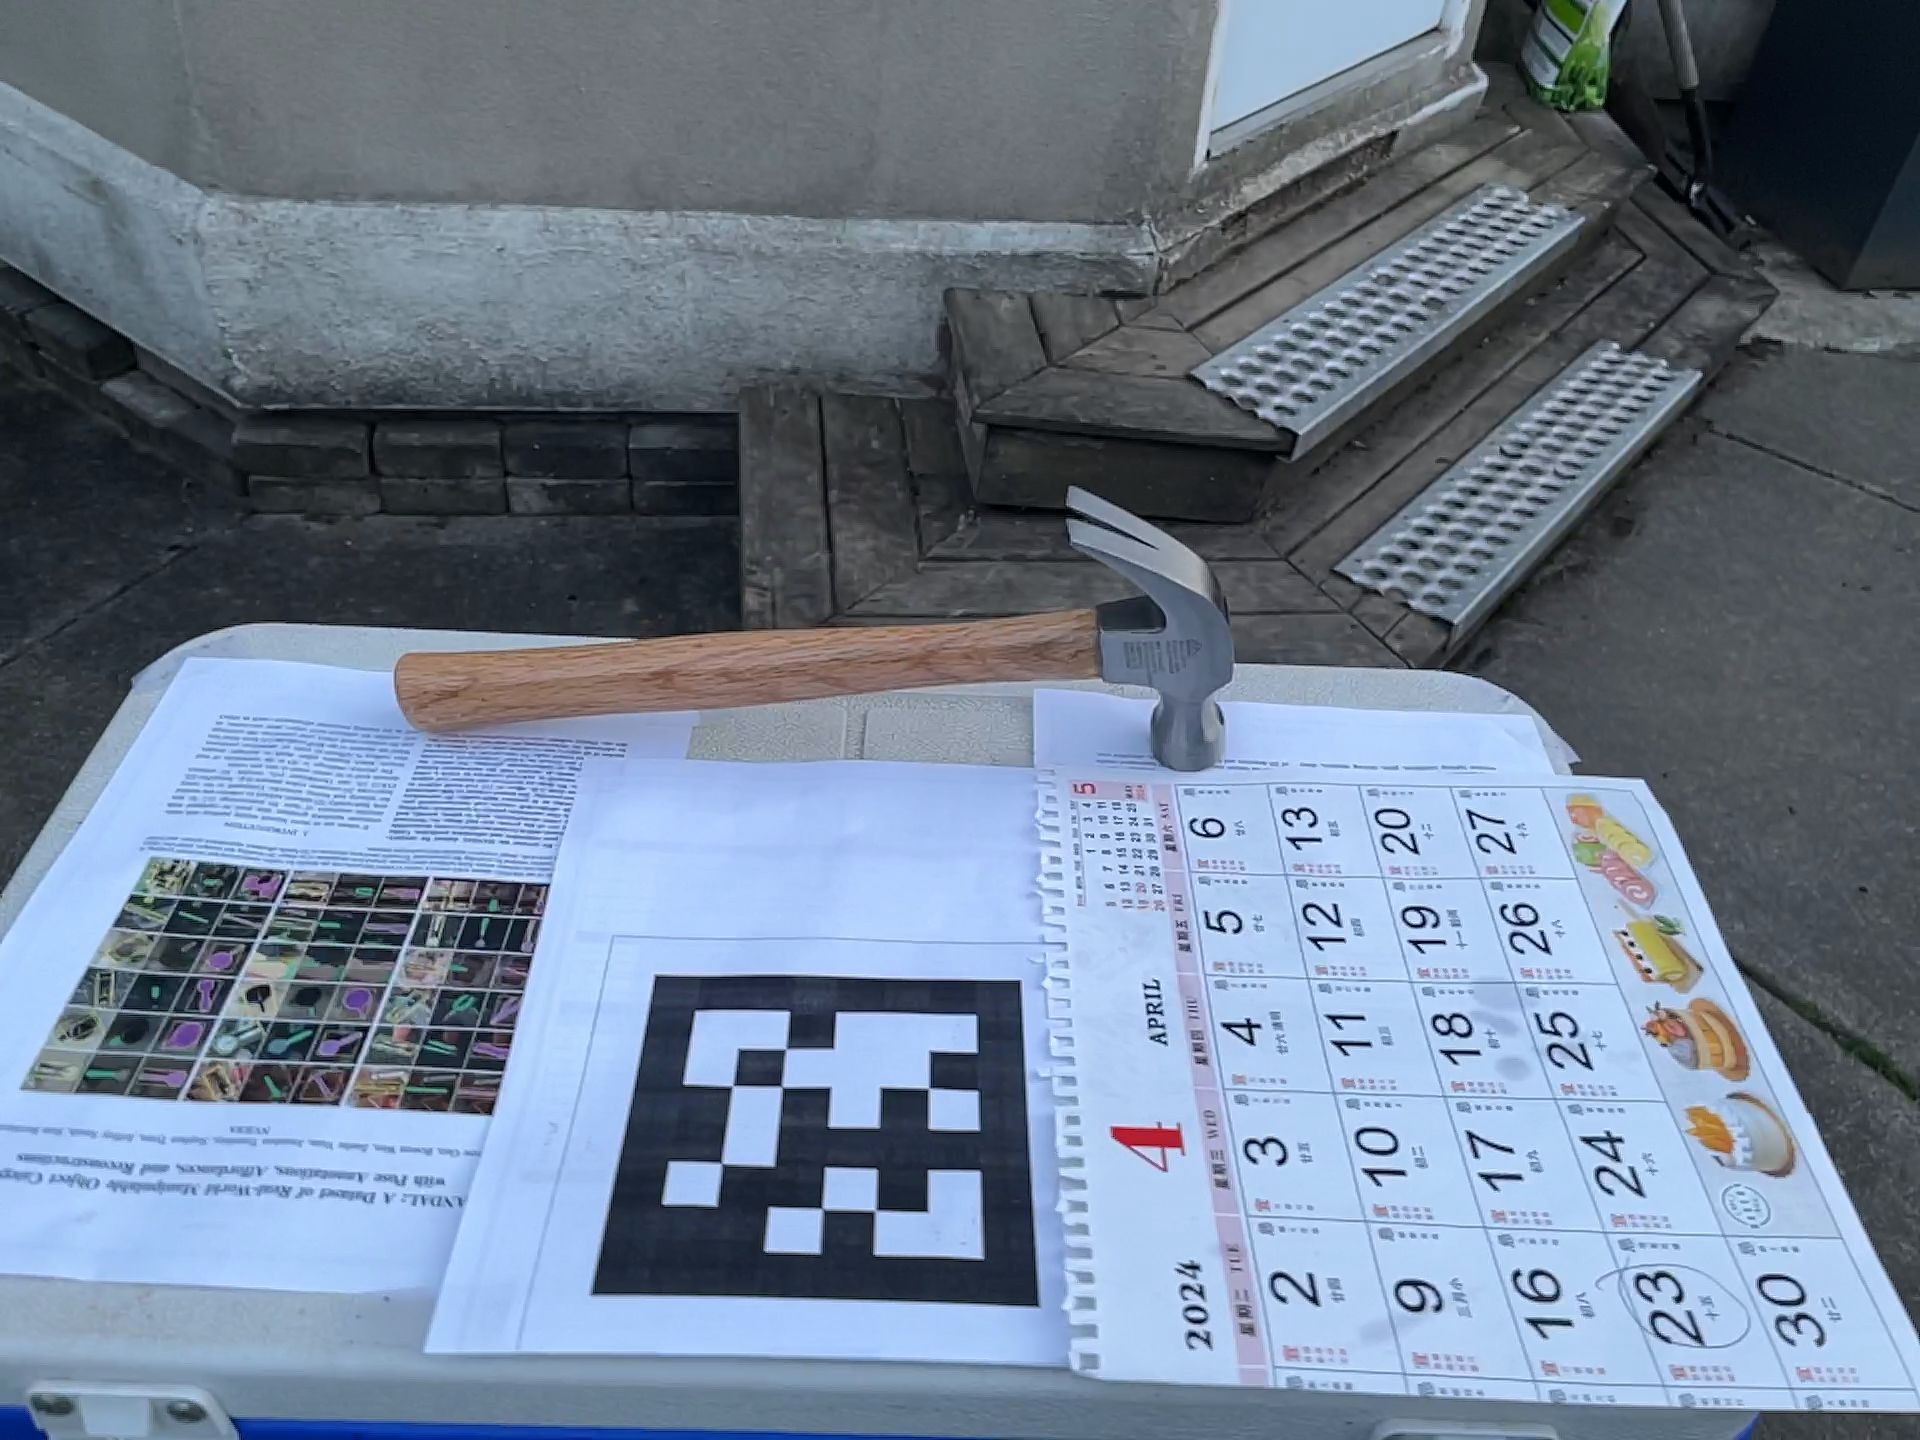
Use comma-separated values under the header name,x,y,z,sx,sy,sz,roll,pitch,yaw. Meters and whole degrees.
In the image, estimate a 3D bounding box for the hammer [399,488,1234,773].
name,x,y,z,sx,sy,sz,roll,pitch,yaw
hammer,-0.059,-0.023,0.614,0.331,0.130,0.031,-4,46,4
